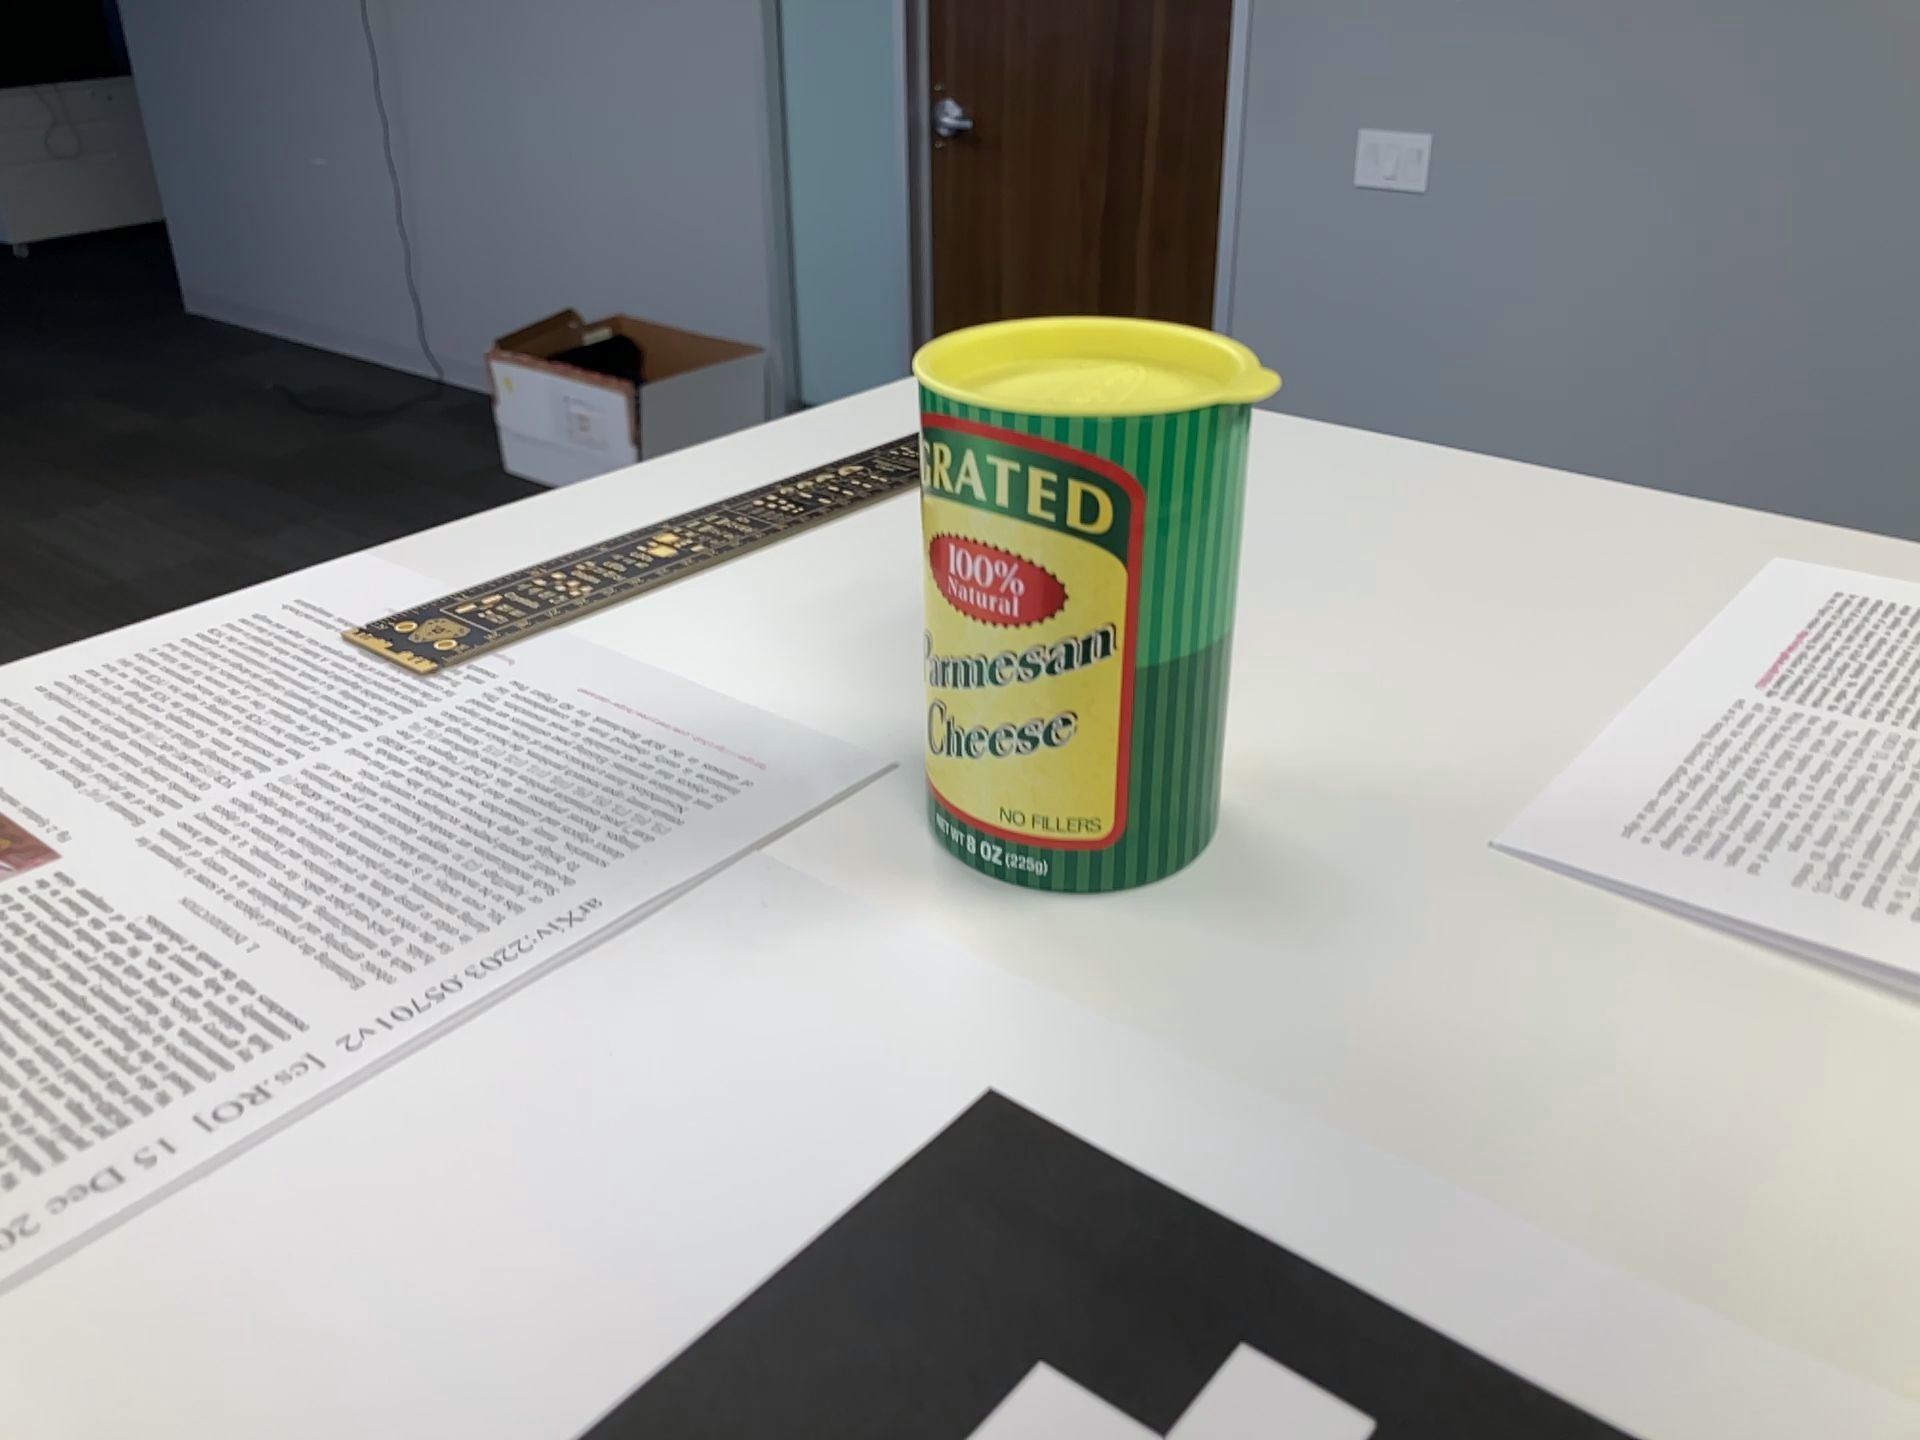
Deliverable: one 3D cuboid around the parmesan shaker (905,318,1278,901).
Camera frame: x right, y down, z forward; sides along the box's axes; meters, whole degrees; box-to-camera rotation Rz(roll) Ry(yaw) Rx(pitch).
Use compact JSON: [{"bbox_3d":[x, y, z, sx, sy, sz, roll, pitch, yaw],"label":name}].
[{"bbox_3d":[0.025,-0.022,0.322,0.071,0.103,0.071,-1,26,0],"label":"parmesan shaker"}]
